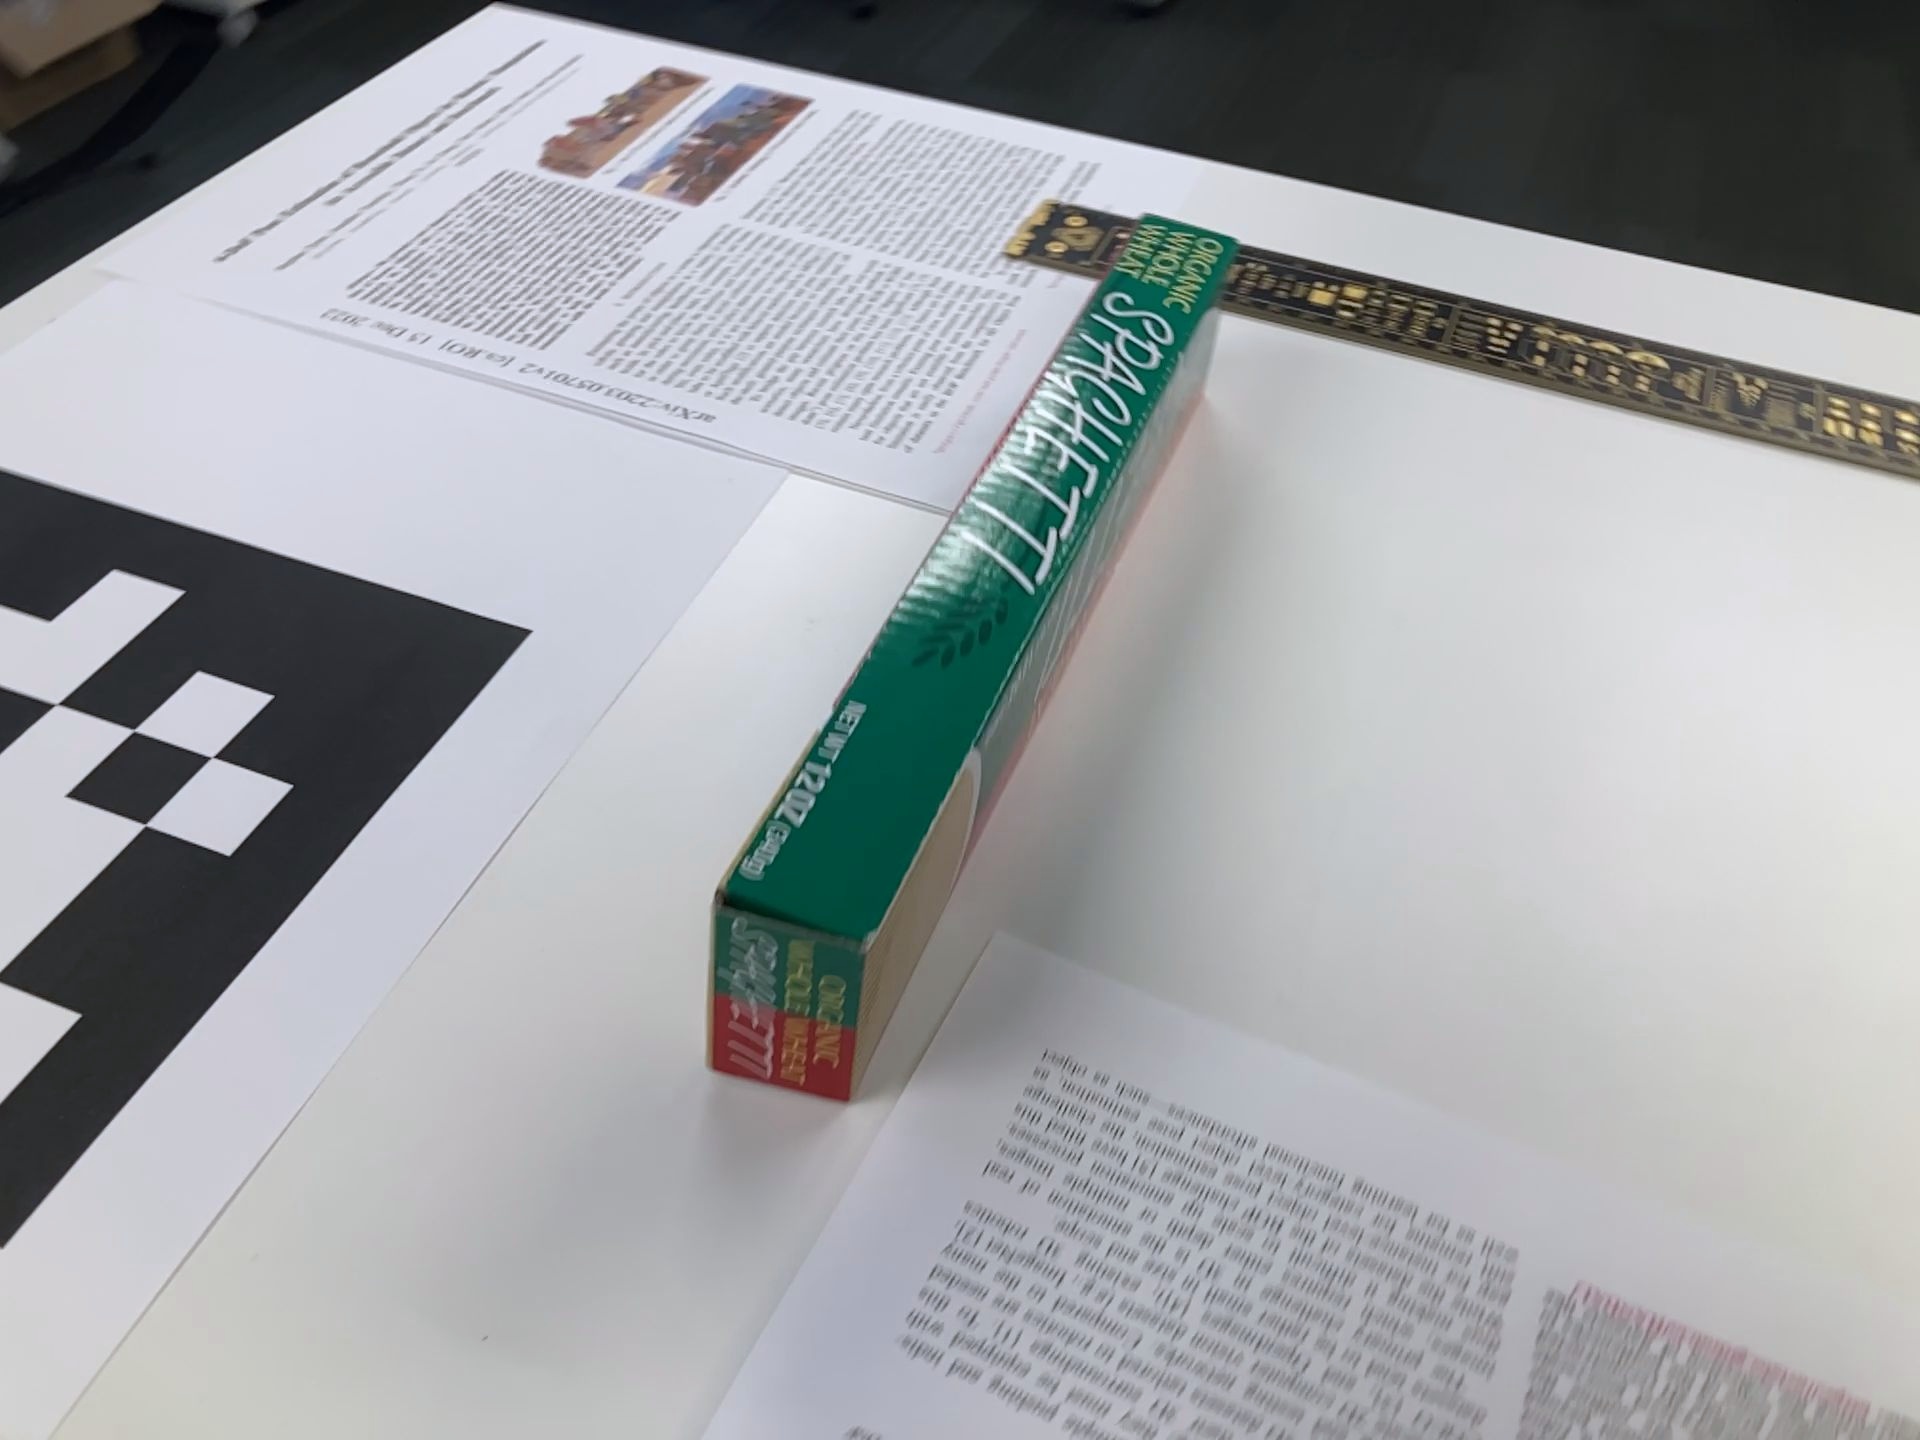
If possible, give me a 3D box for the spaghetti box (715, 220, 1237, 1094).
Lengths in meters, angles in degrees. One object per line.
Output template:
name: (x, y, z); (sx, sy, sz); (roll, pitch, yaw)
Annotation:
spaghetti box: (0.014, -0.033, 0.353); (0.028, 0.050, 0.250); (20, 47, 10)
